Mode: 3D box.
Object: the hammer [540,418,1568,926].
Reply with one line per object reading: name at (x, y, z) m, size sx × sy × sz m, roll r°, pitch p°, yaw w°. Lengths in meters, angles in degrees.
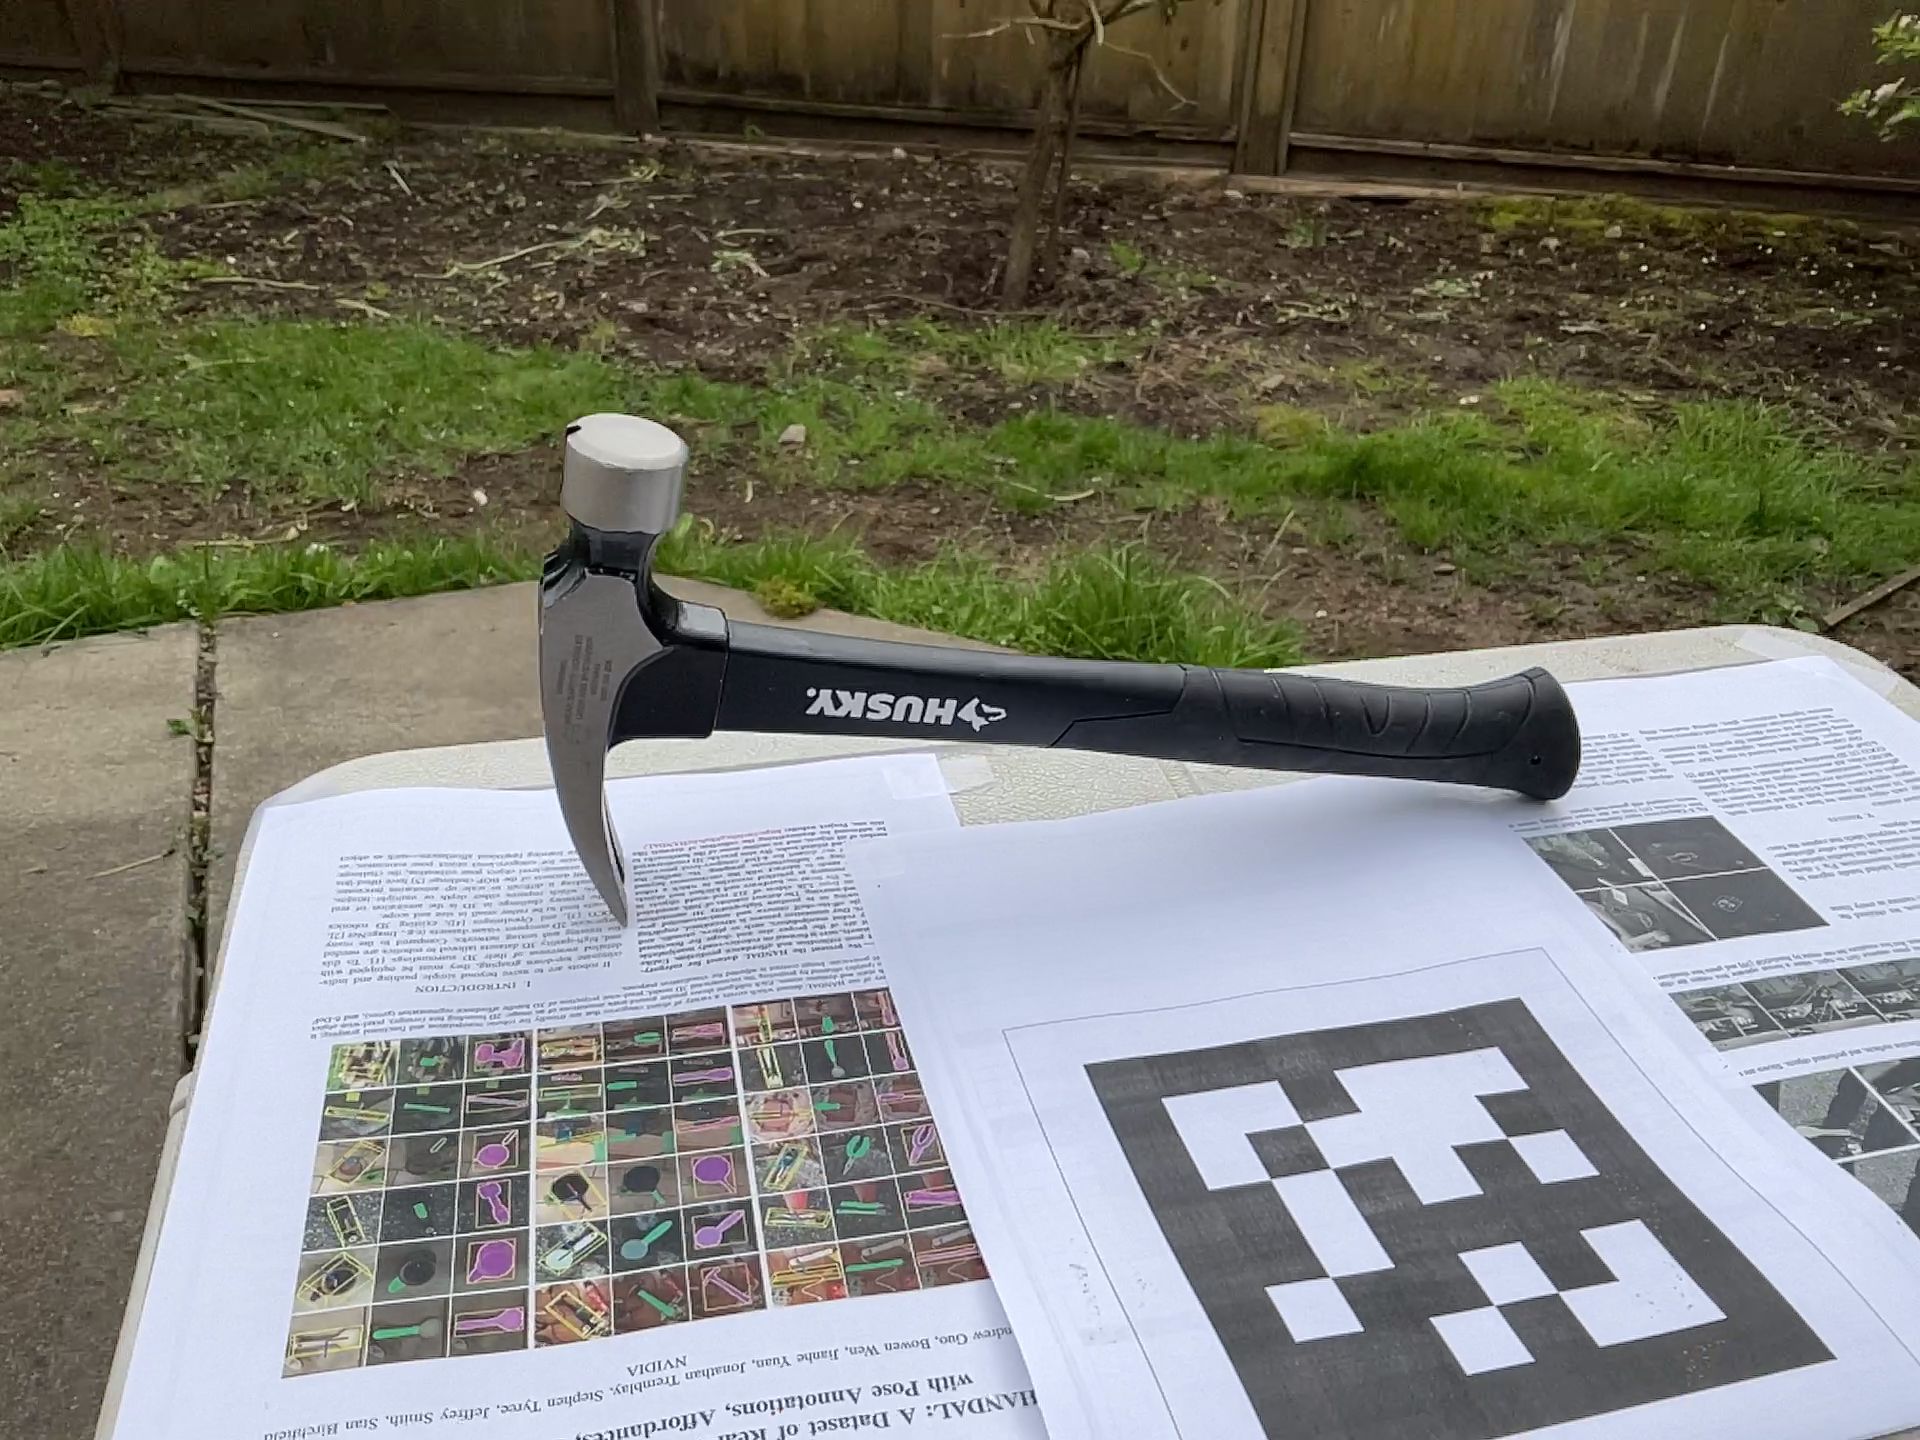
hammer at (0.041, 0.001, 0.491) m, size 0.334 × 0.146 × 0.035 m, roll 5°, pitch 31°, yaw -18°
